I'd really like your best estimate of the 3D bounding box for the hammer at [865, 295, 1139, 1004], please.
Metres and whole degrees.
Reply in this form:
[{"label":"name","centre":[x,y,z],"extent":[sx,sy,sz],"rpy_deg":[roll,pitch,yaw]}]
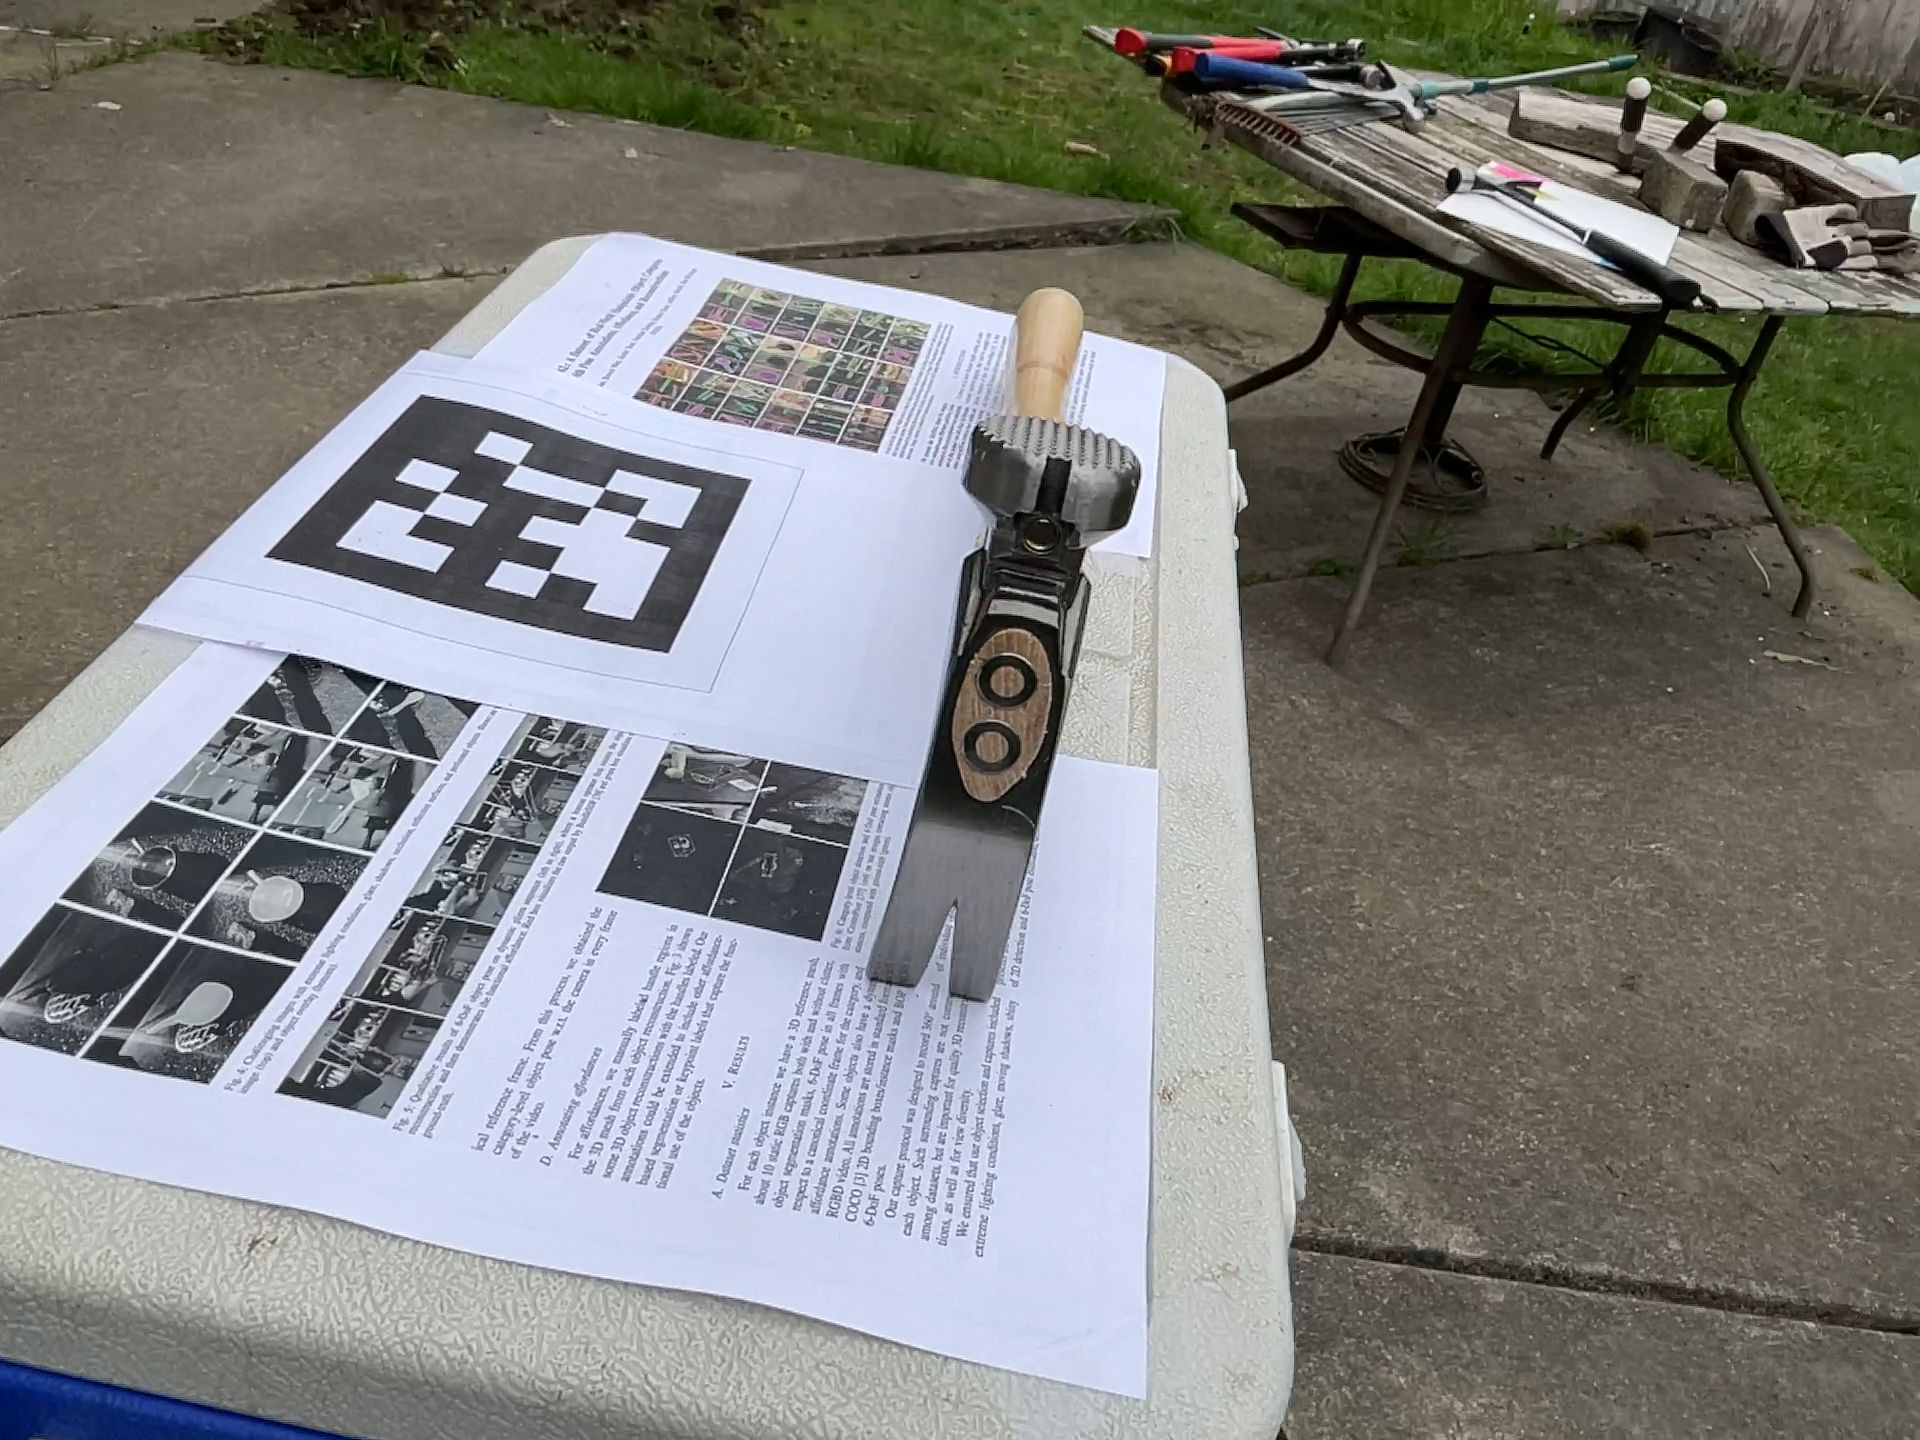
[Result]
[{"label":"hammer","centre":[0.020,-0.071,0.546],"extent":[0.038,0.146,0.411],"rpy_deg":[12,24,-1]}]
